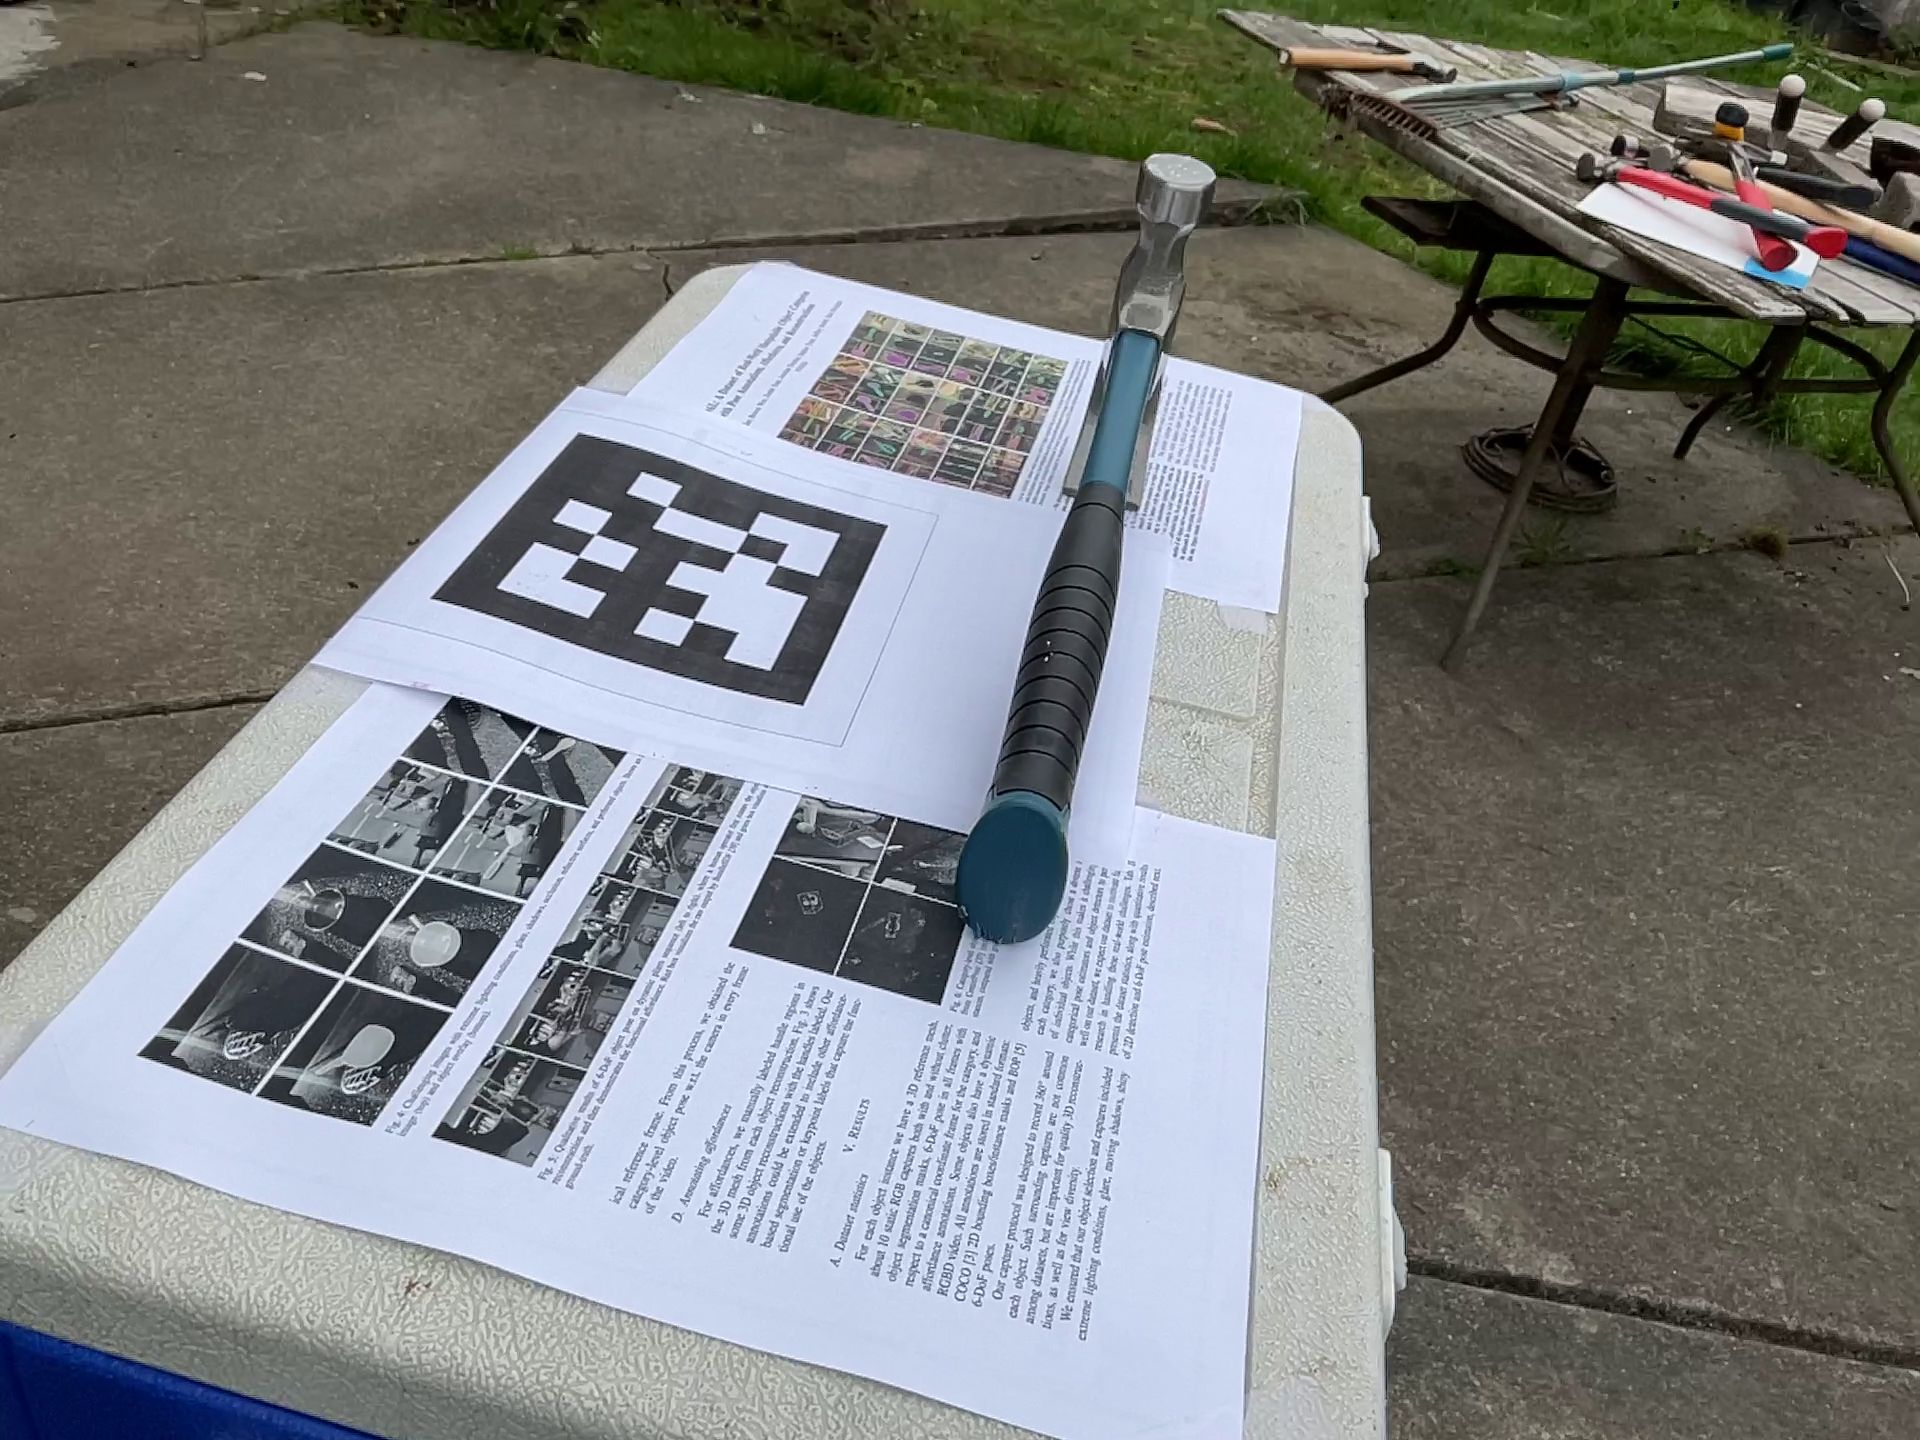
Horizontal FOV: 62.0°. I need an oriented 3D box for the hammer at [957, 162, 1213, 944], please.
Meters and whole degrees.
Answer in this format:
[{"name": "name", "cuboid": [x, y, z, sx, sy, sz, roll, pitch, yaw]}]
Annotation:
[{"name": "hammer", "cuboid": [0.046, -0.063, 0.552, 0.033, 0.128, 0.331, 13, 45, 3]}]
